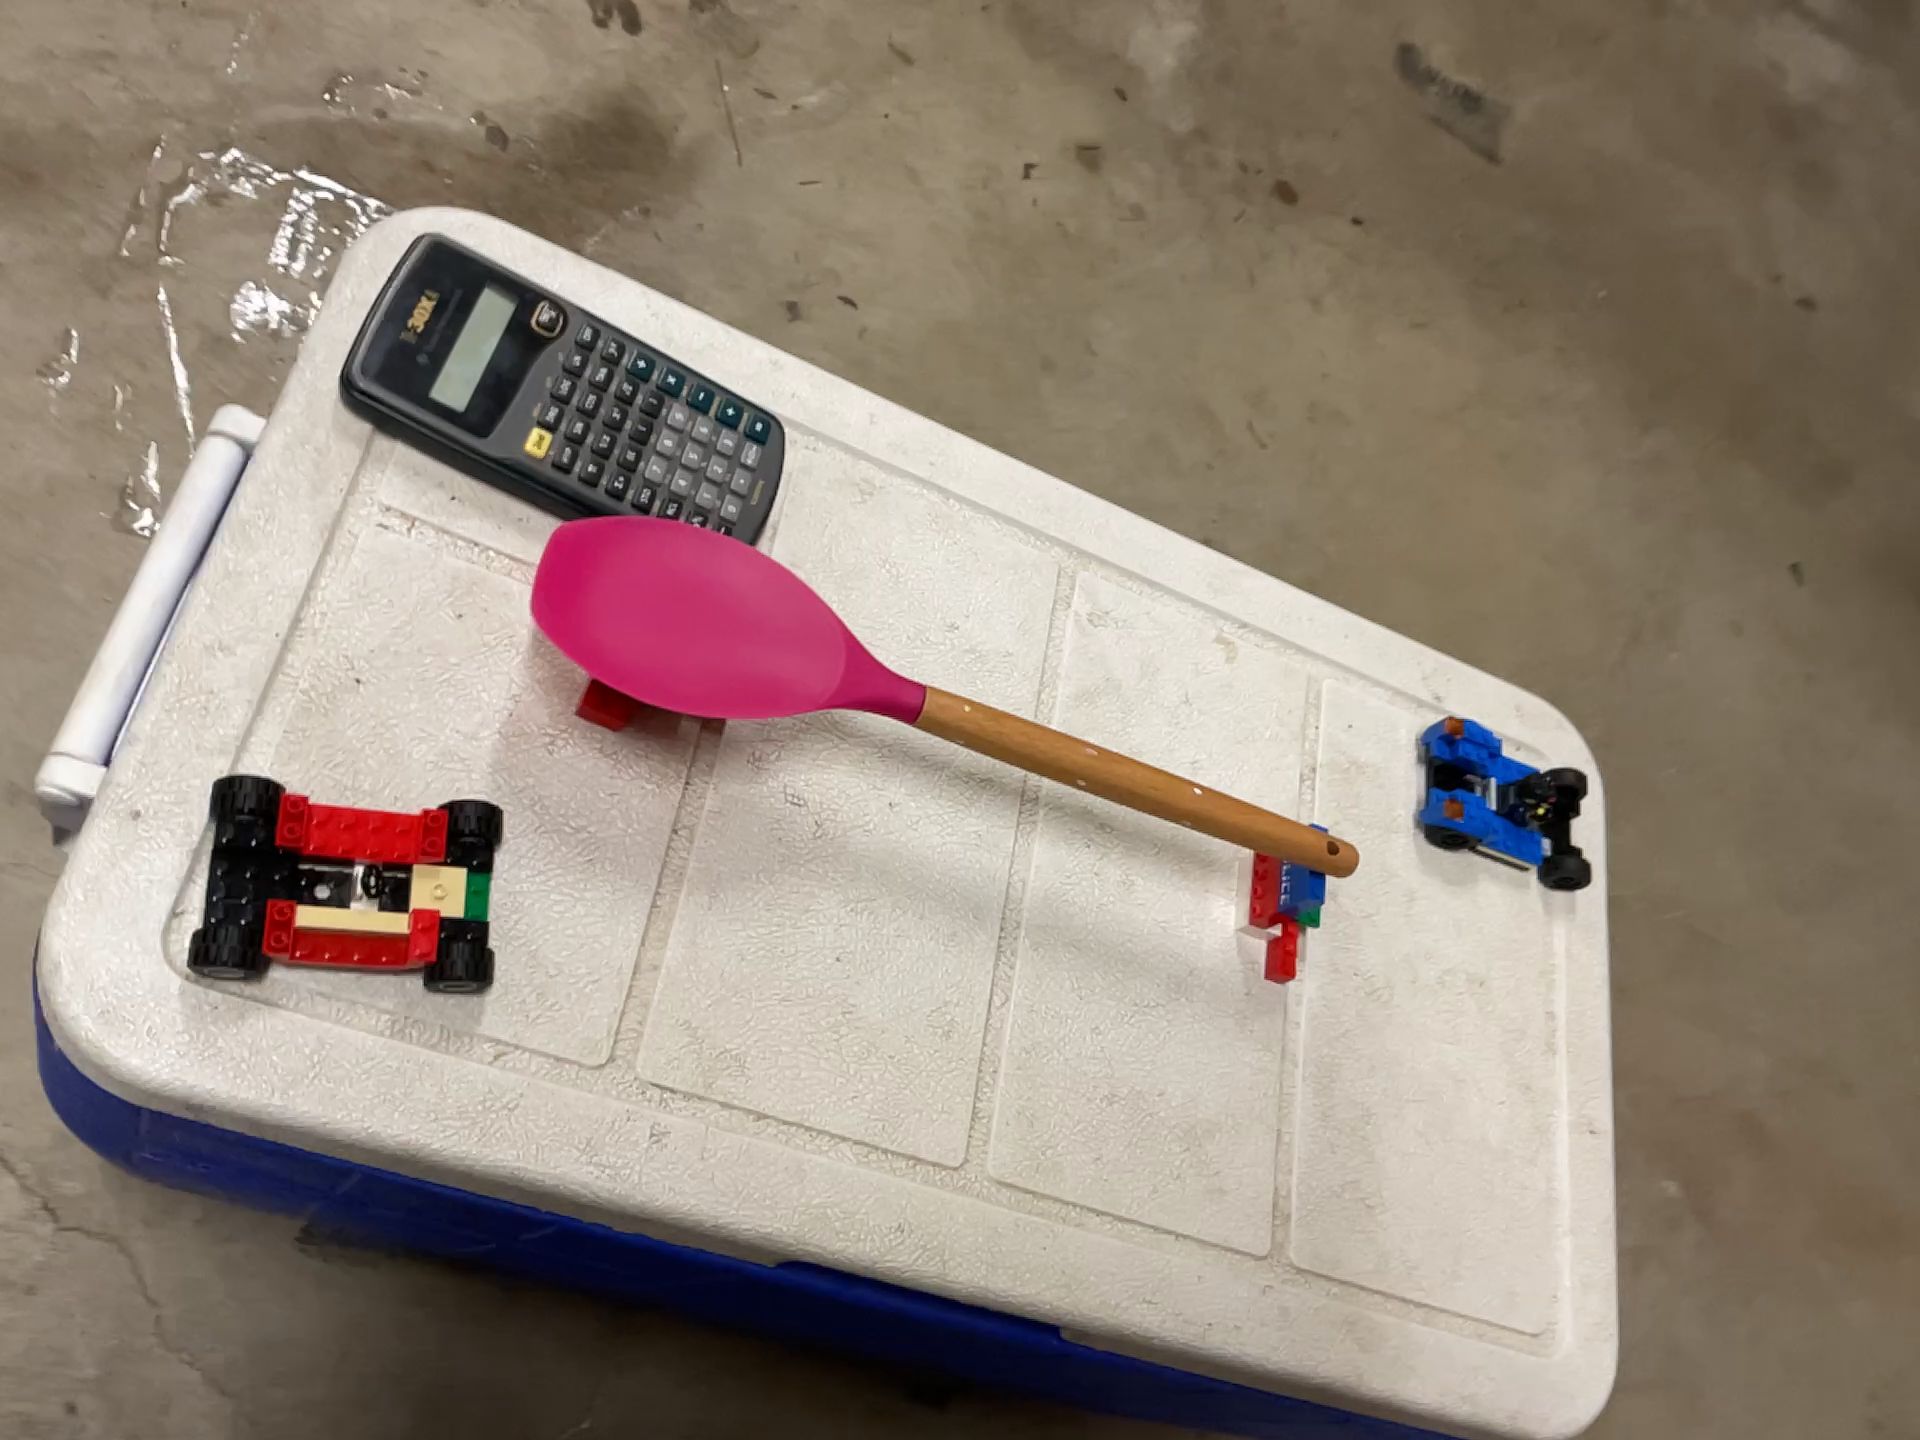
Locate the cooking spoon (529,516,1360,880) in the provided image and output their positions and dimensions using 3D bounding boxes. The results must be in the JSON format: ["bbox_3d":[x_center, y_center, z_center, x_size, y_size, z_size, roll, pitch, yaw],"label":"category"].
[{"bbox_3d":[0.007,0.004,0.557,0.319,0.017,0.069,20,61,-19],"label":"cooking spoon"}]
